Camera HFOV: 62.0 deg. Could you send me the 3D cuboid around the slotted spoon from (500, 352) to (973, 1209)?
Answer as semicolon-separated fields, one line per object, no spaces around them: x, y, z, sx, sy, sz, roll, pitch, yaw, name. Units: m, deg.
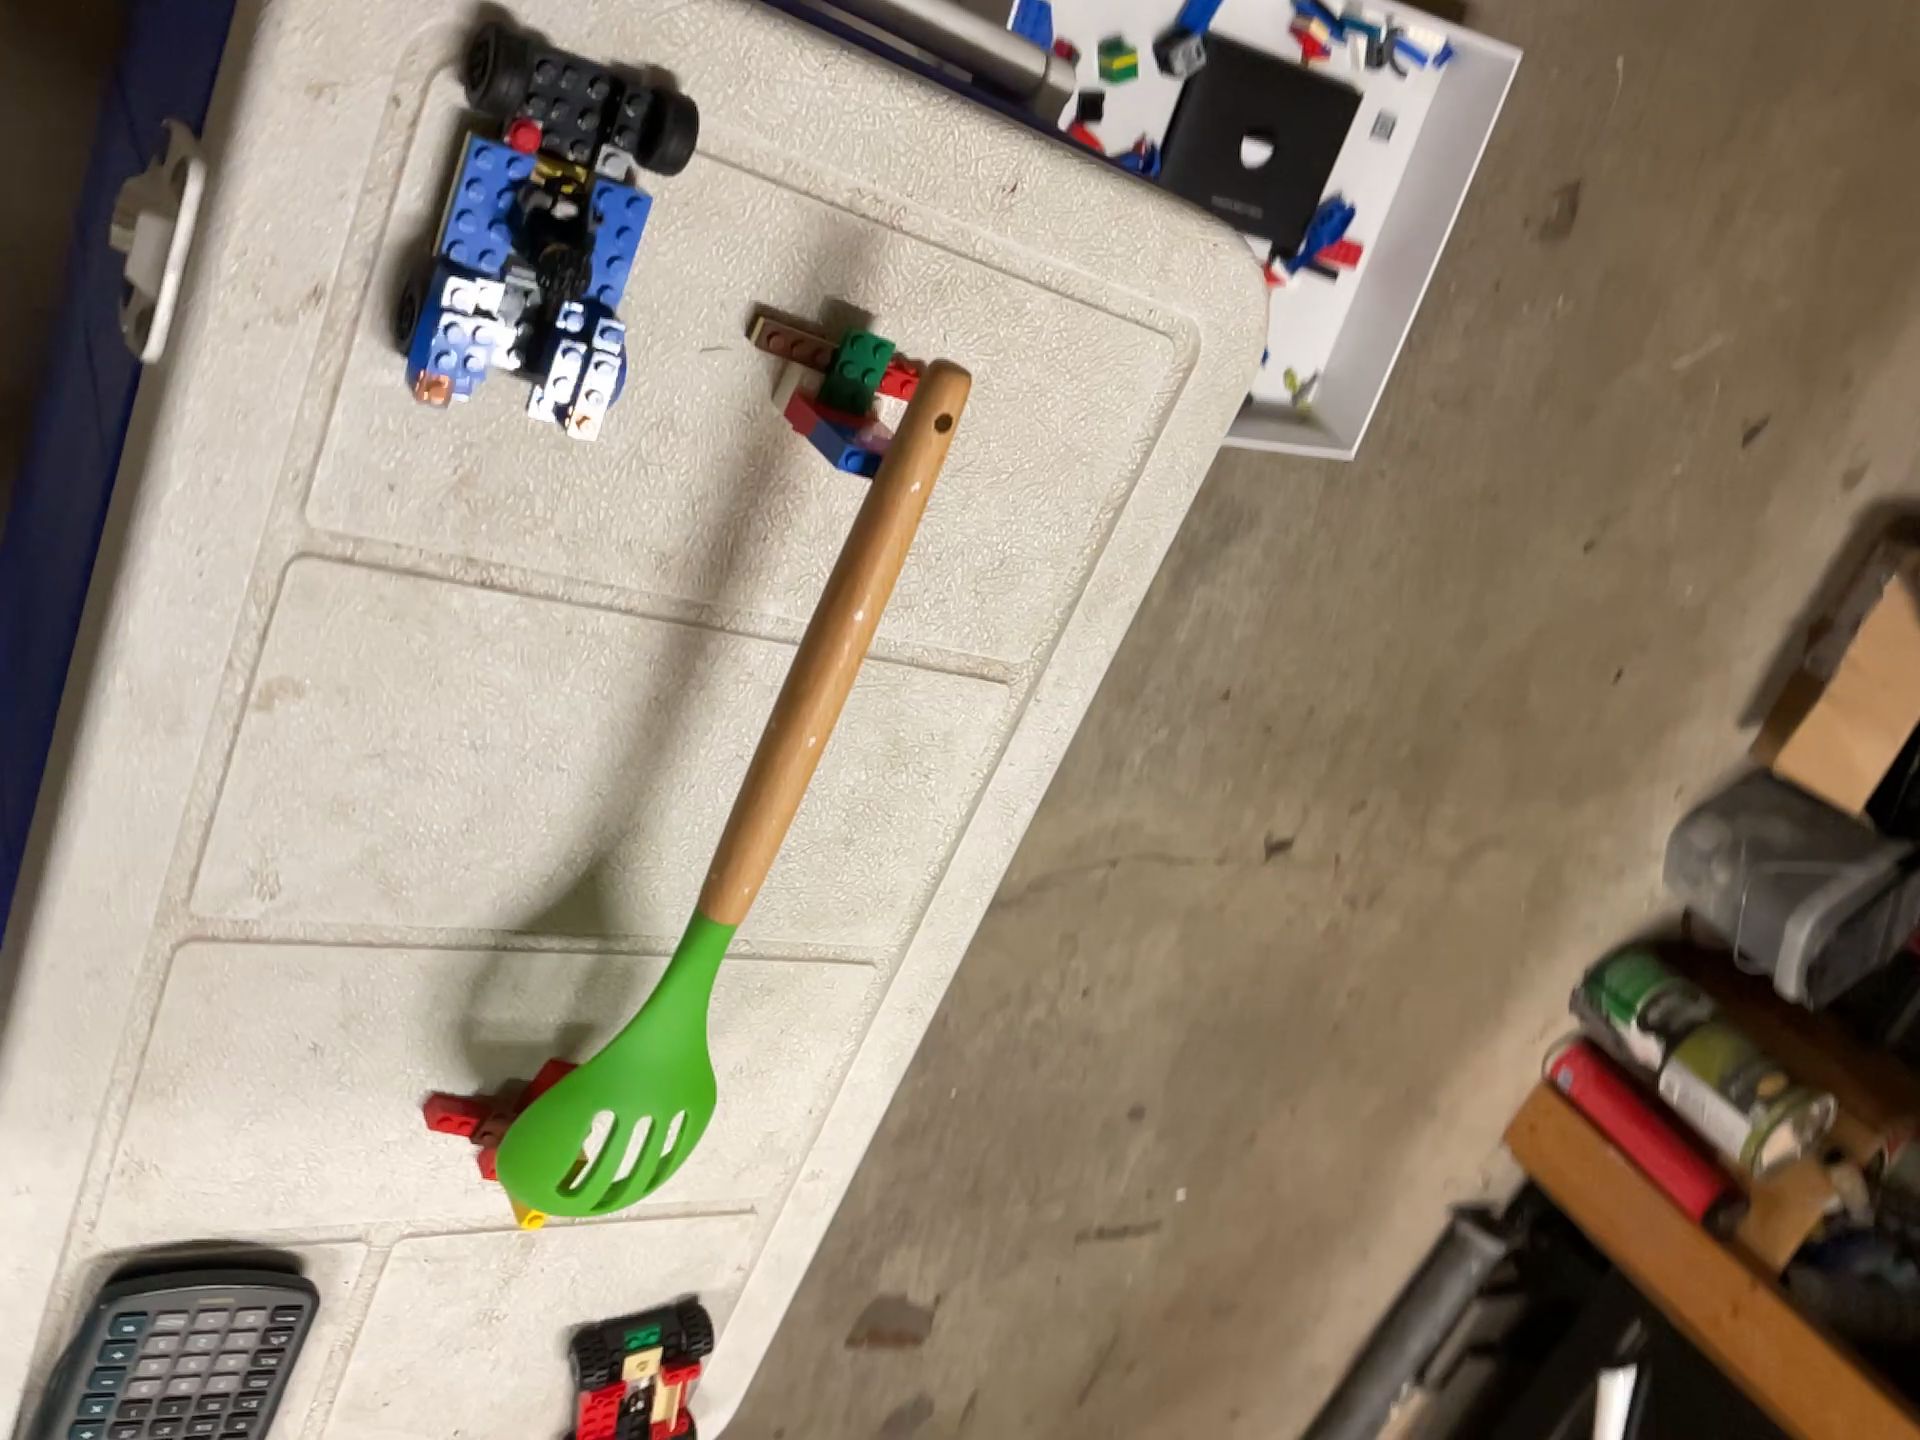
-0.066;0.036;0.482;0.070;0.031;0.314;10;116;-37;slotted spoon
